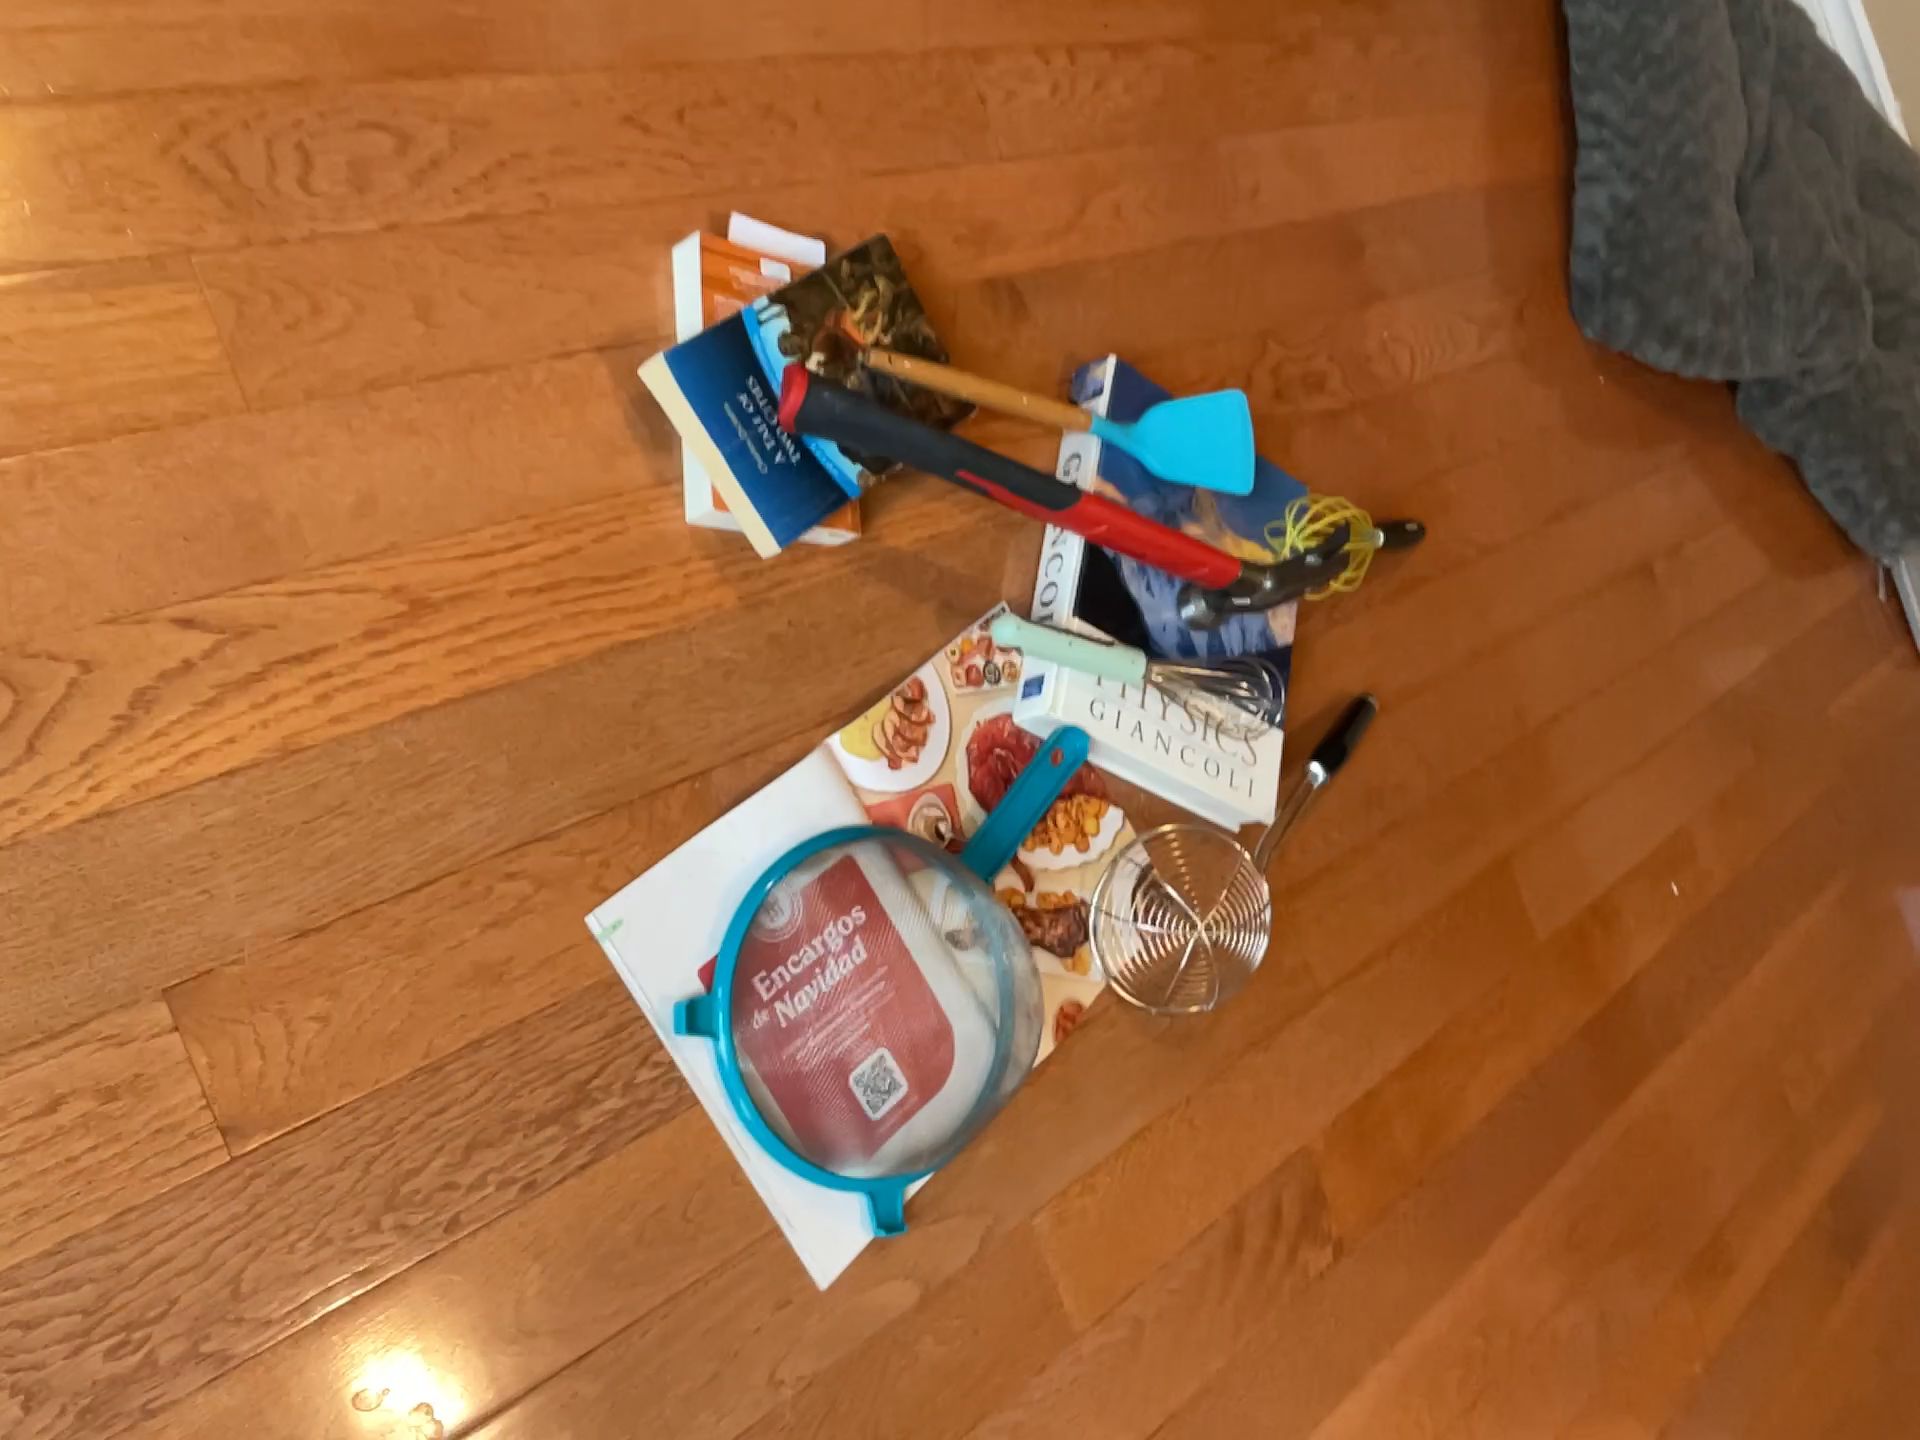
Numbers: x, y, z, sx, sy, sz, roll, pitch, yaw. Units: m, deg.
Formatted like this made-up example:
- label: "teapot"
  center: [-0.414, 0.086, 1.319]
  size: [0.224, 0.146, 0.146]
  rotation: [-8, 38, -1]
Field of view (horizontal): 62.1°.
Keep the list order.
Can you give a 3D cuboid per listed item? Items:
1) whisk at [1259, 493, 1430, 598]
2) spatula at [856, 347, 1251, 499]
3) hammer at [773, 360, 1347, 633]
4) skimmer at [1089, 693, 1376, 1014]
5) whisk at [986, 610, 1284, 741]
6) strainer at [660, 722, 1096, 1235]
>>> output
- label: "whisk"
  center: [0.315, -0.142, 1.258]
  size: [0.312, 0.067, 0.080]
  rotation: [-15, 73, -55]
- label: "spatula"
  center: [0.069, -0.208, 1.056]
  size: [0.317, 0.044, 0.082]
  rotation: [7, 76, -38]
- label: "hammer"
  center: [0.063, -0.141, 0.984]
  size: [0.386, 0.143, 0.038]
  rotation: [18, 65, -32]
- label: "skimmer"
  center: [0.213, 0.076, 1.161]
  size: [0.127, 0.090, 0.364]
  rotation: [59, 40, -9]
- label: "whisk"
  center: [0.121, -0.034, 1.060]
  size: [0.246, 0.058, 0.059]
  rotation: [15, 101, -31]
- label: "strainer"
  center: [0.004, 0.117, 0.925]
  size: [0.211, 0.095, 0.341]
  rotation: [50, 60, -17]
